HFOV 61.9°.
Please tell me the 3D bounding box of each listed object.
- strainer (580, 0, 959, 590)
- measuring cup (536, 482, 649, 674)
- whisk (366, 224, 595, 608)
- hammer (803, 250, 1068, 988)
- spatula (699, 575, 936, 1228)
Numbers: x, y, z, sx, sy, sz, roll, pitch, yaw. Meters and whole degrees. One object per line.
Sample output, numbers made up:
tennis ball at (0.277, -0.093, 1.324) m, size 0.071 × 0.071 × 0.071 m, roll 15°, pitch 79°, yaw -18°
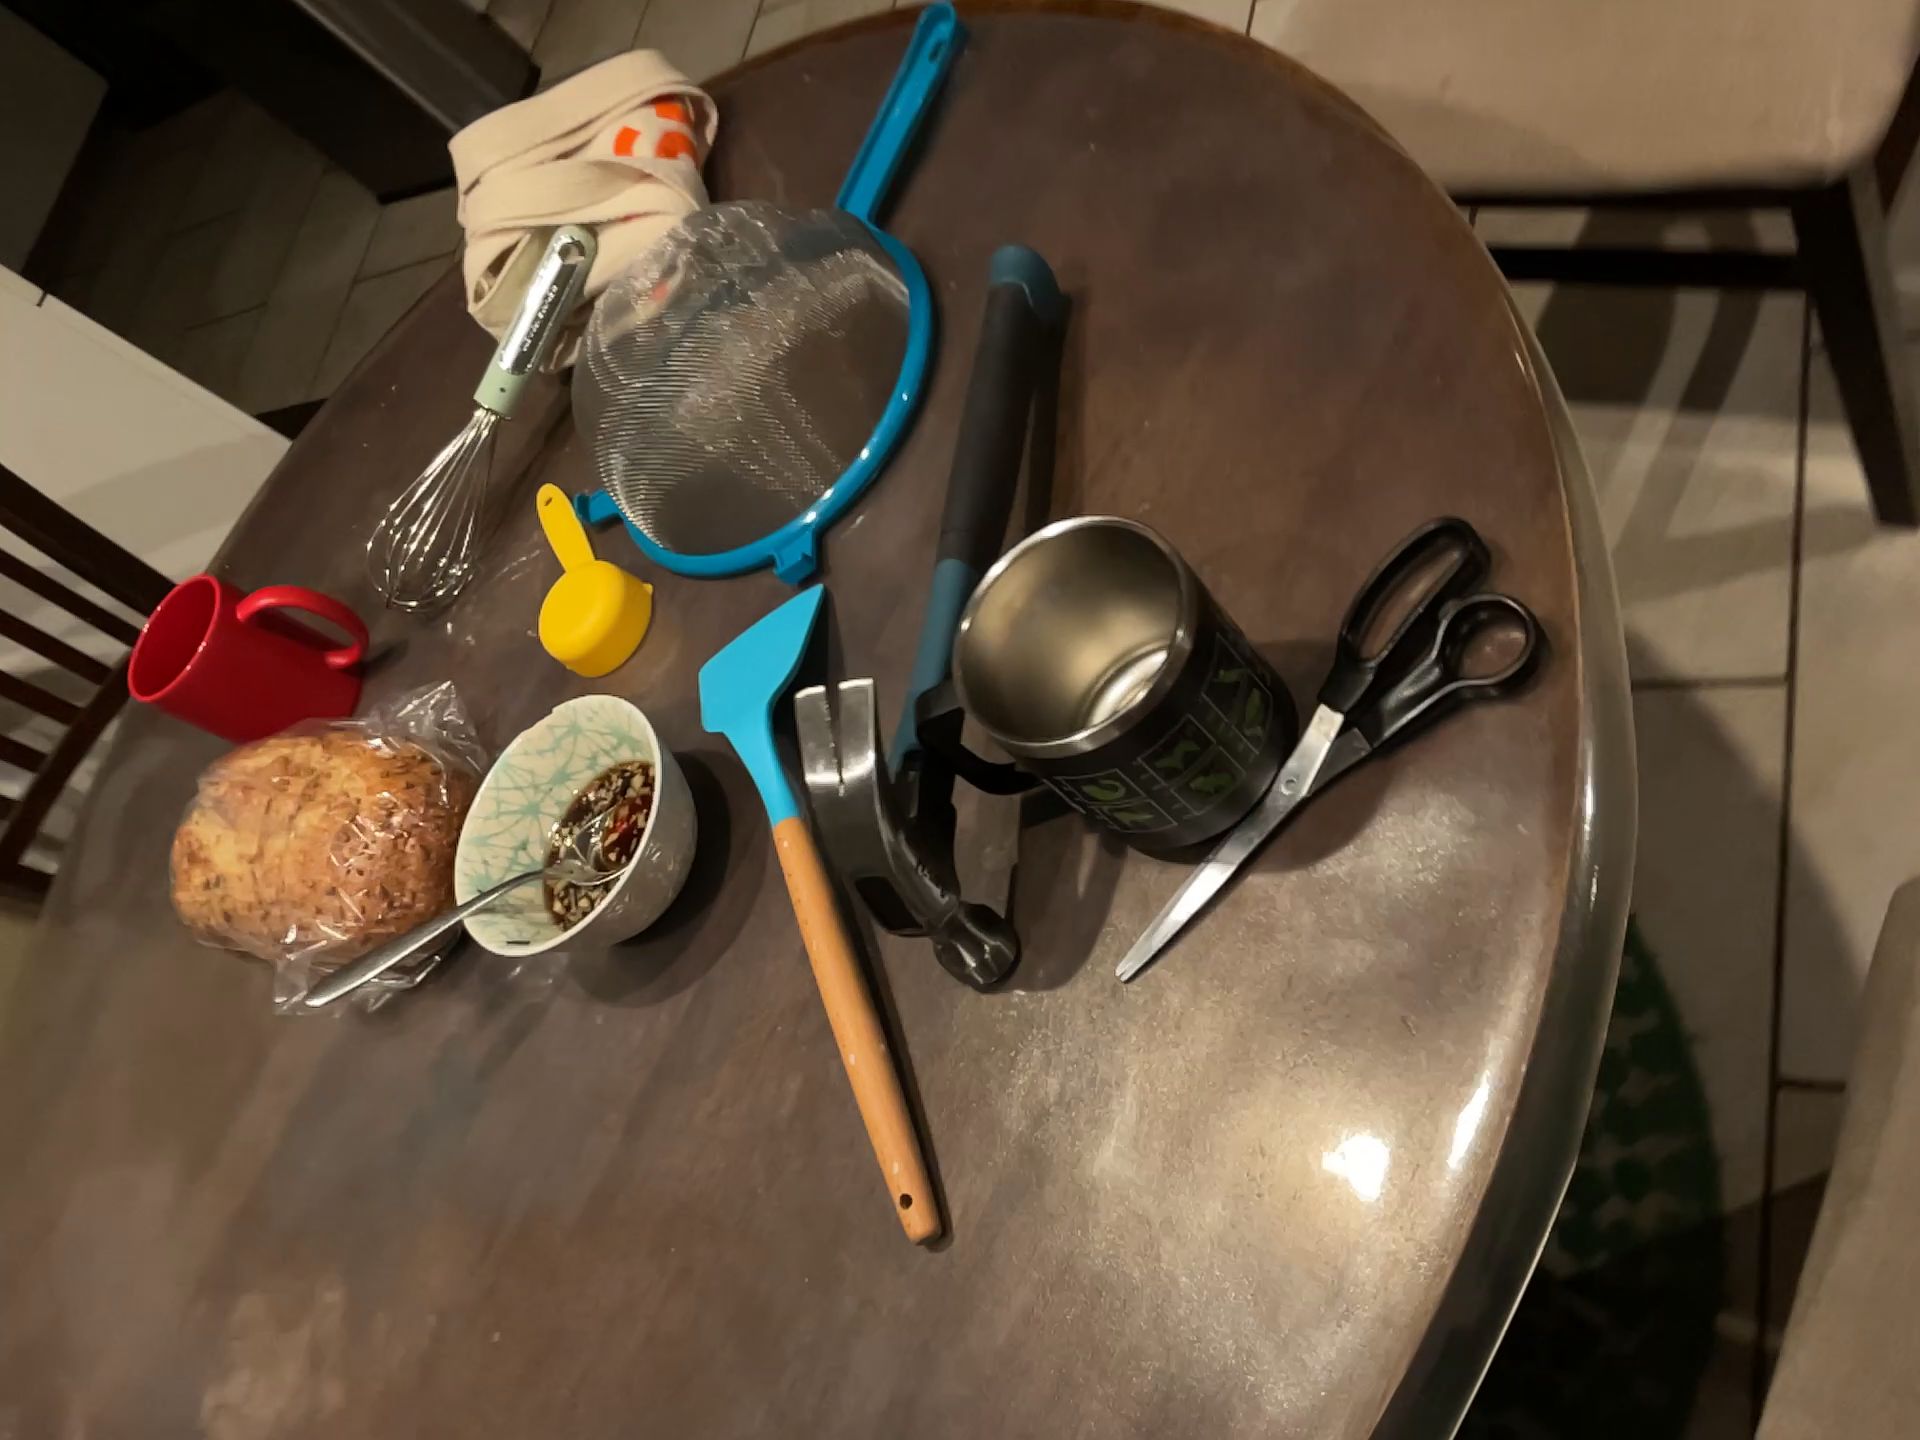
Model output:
strainer at (-0.096, -0.242, 0.822) m, size 0.211 × 0.095 × 0.340 m, roll 19°, pitch 82°, yaw 40°
measuring cup at (-0.214, -0.088, 0.867) m, size 0.062 × 0.029 × 0.157 m, roll -41°, pitch 50°, yaw 11°
whisk at (-0.274, -0.175, 0.927) m, size 0.246 × 0.058 × 0.059 m, roll -62°, pitch 17°, yaw 4°
hammer at (0.007, -0.067, 0.660) m, size 0.033 × 0.128 × 0.331 m, roll -9°, pitch 52°, yaw 29°
spatula at (-0.058, 0.064, 0.680) m, size 0.082 × 0.044 × 0.318 m, roll -33°, pitch 55°, yaw 17°
